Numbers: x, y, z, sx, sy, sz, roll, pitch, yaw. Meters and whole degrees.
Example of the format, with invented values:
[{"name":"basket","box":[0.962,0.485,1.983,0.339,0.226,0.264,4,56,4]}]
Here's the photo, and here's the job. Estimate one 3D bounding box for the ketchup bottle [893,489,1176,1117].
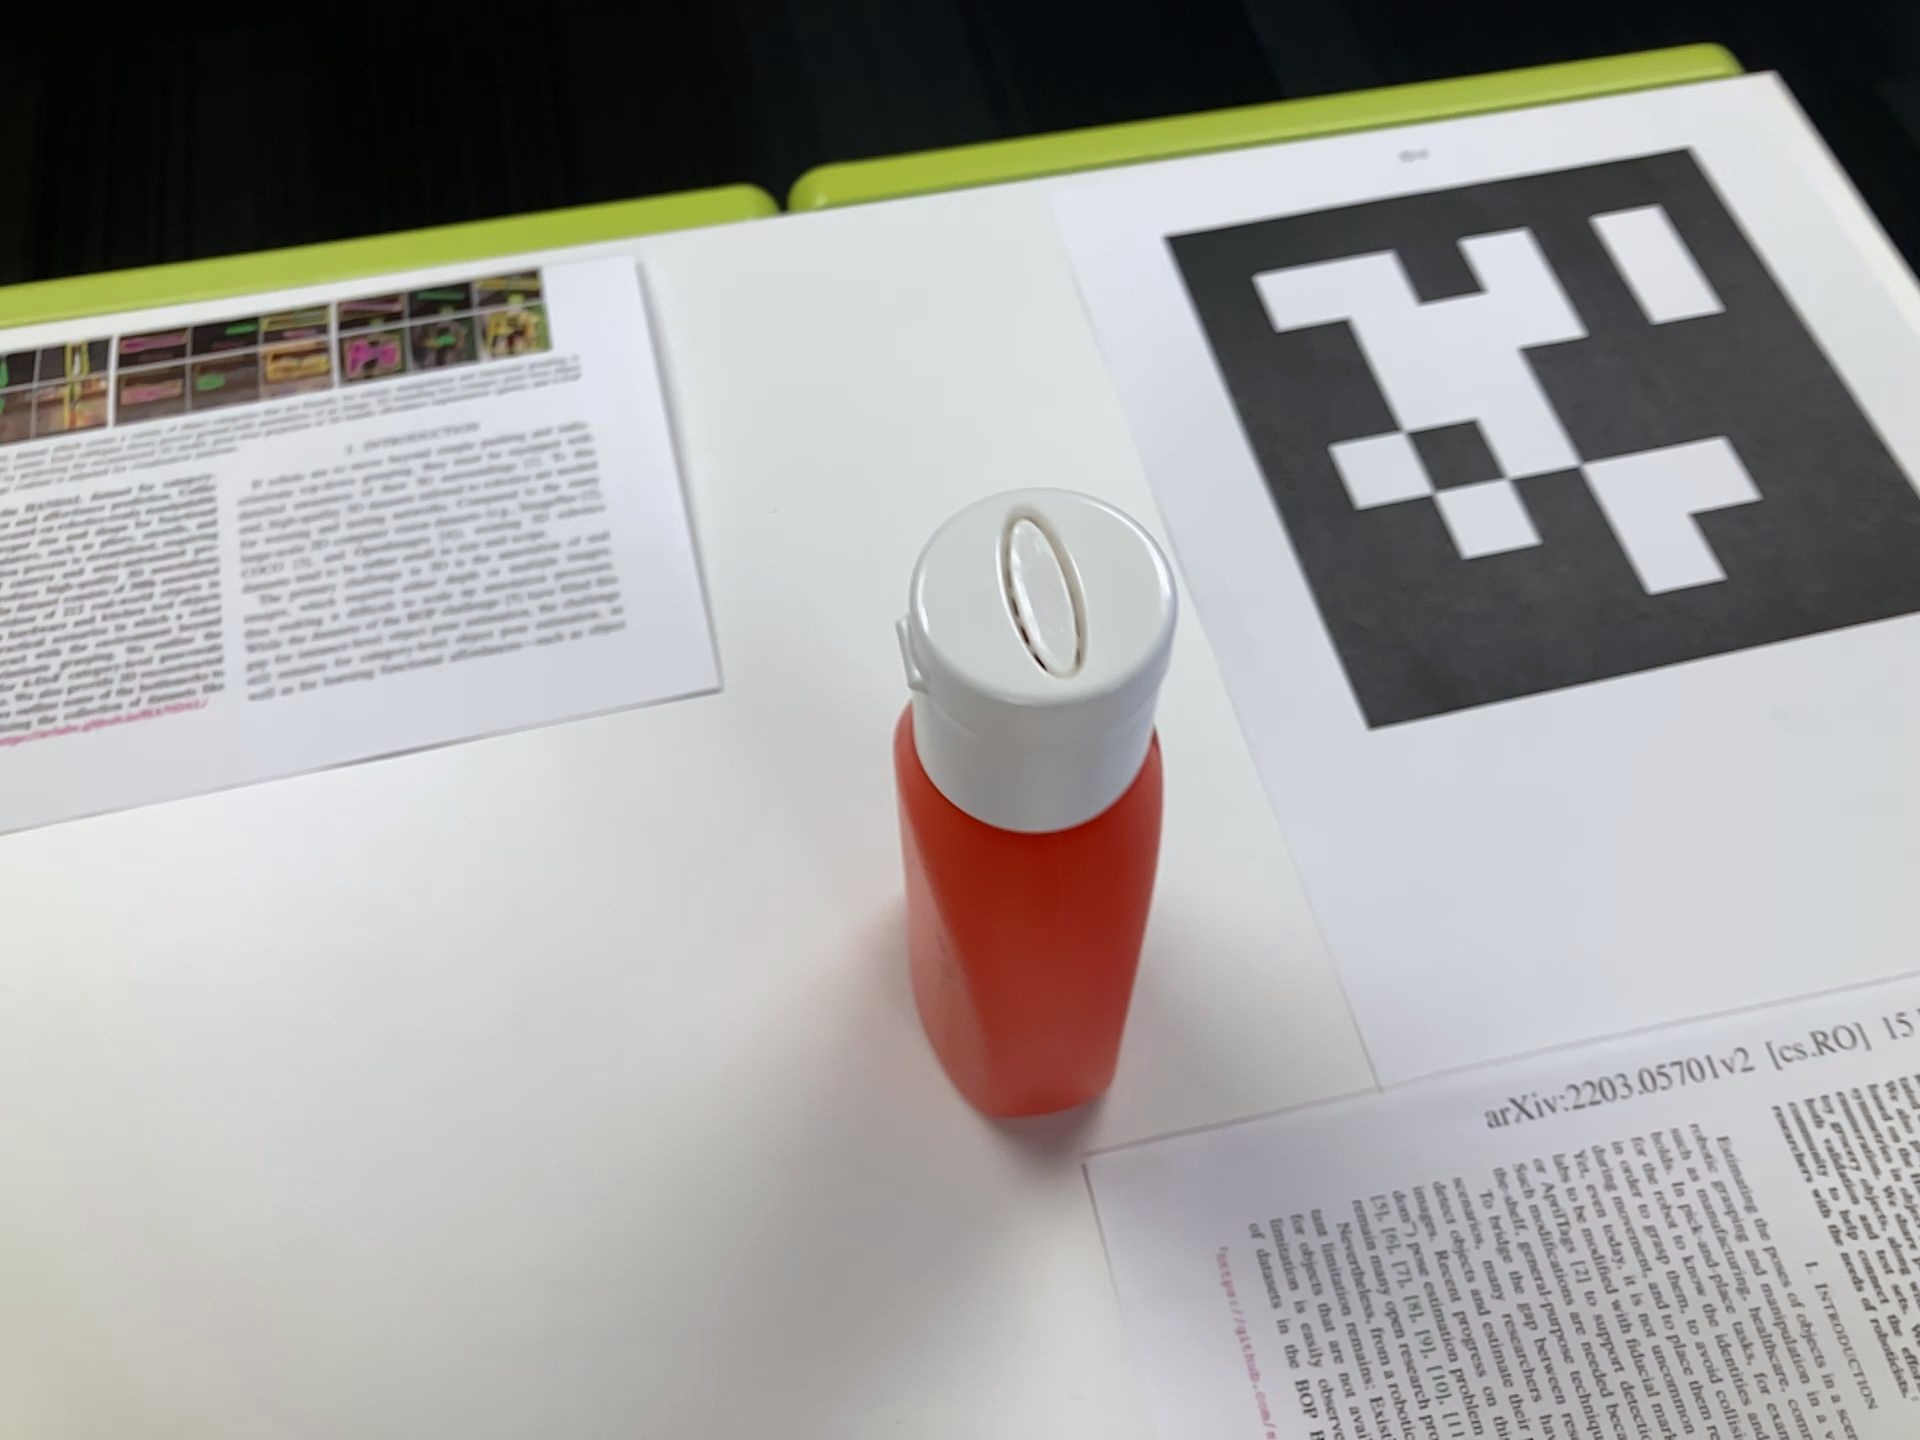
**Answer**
[{"name":"ketchup bottle","box":[0.011,0.019,0.277,0.043,0.149,0.065,-11,61,-5]}]
